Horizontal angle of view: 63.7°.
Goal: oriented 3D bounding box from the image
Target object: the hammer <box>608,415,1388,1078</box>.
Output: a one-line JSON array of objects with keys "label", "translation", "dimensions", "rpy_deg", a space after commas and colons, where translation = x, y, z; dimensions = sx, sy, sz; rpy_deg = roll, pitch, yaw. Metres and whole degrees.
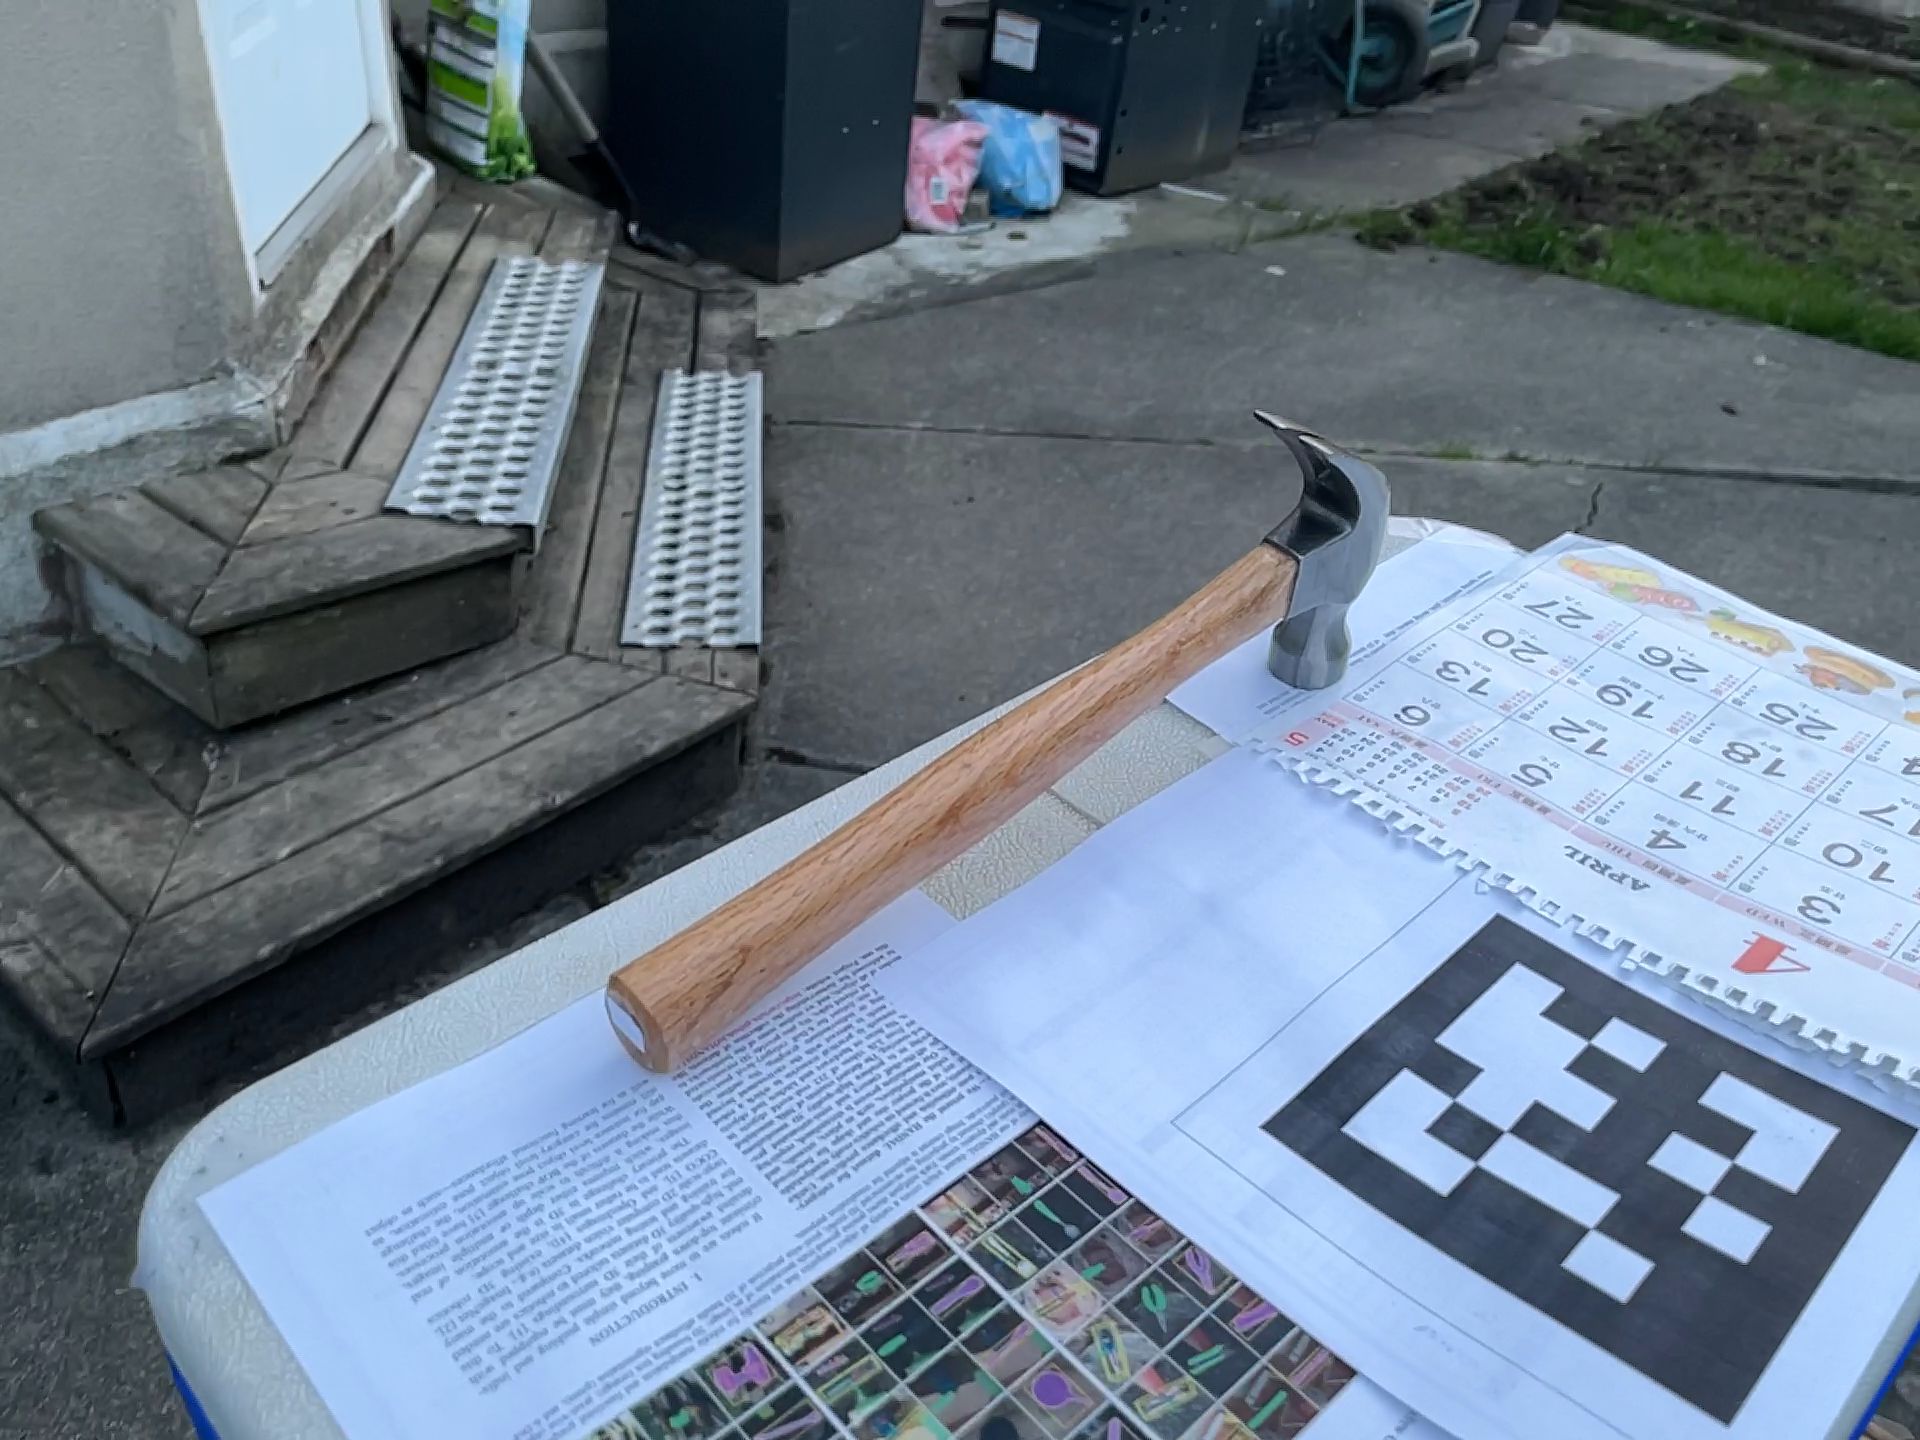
[{"label": "hammer", "translation": [0.031, 0.003, 0.497], "dimensions": [0.331, 0.130, 0.031], "rpy_deg": [-34, 54, -30]}]
